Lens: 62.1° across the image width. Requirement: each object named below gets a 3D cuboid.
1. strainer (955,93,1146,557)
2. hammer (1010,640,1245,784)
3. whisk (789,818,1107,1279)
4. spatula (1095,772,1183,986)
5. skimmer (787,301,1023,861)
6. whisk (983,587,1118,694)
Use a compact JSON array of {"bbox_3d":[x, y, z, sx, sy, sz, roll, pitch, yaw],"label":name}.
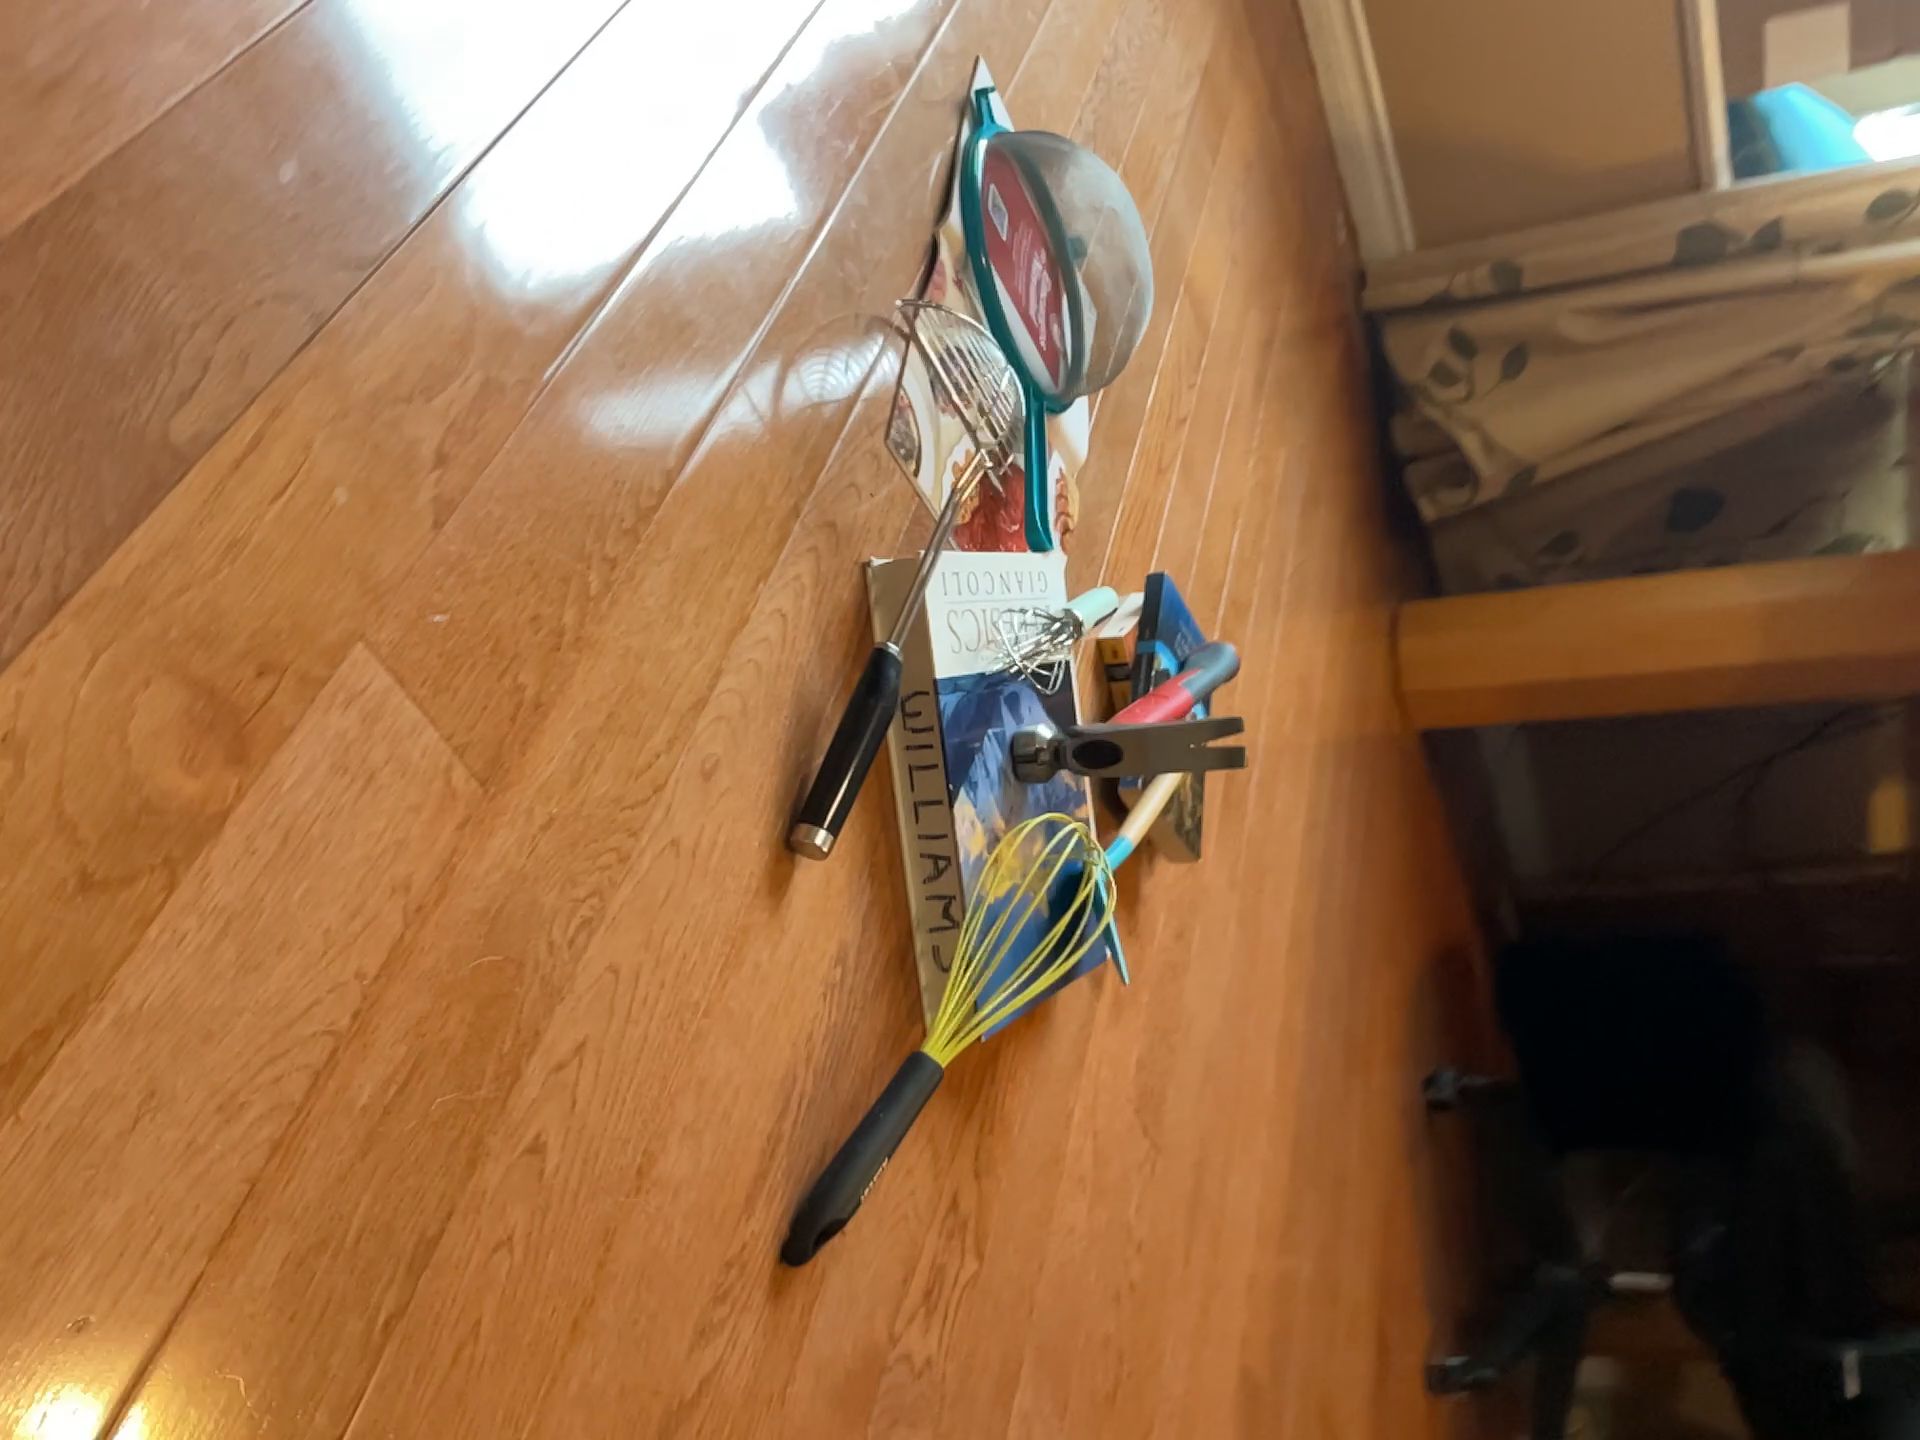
[{"bbox_3d":[0.083,-0.274,1.122,0.211,0.095,0.341,41,40,-56],"label":"strainer"},{"bbox_3d":[0.164,-0.015,1.129,0.387,0.143,0.038,-27,112,-67],"label":"hammer"},{"bbox_3d":[-0.004,0.165,0.848,0.312,0.067,0.080,-52,147,-38],"label":"whisk"},{"bbox_3d":[0.133,0.078,1.130,0.318,0.044,0.082,-45,122,-60],"label":"spatula"},{"bbox_3d":[-0.045,-0.086,0.899,0.127,0.090,0.364,56,47,-48],"label":"skimmer"},{"bbox_3d":[0.066,-0.059,1.032,0.059,0.057,0.246,50,22,2],"label":"whisk"}]
